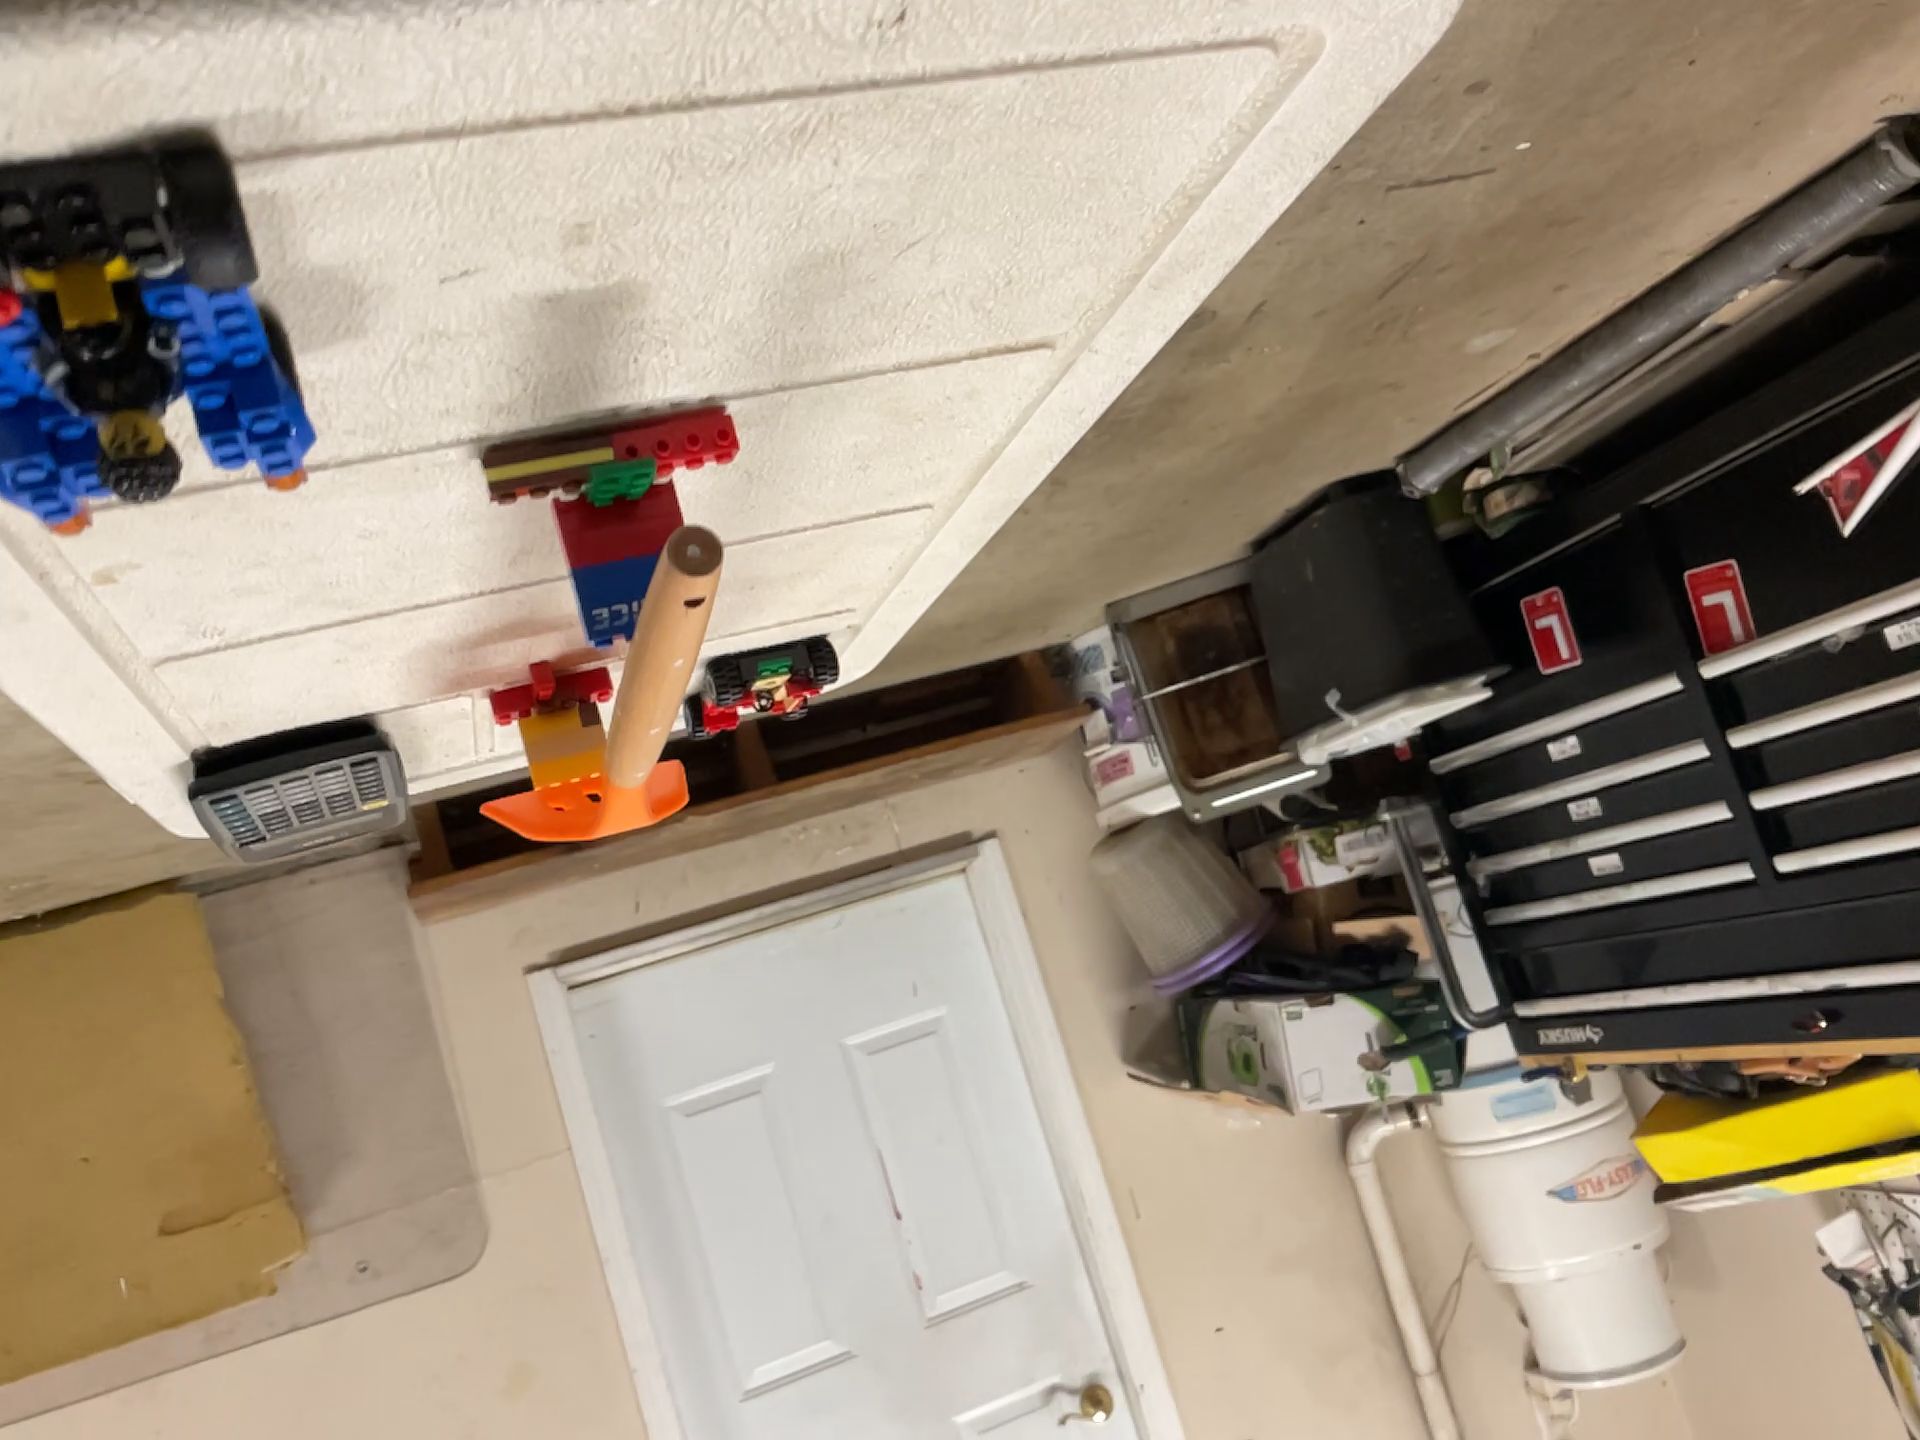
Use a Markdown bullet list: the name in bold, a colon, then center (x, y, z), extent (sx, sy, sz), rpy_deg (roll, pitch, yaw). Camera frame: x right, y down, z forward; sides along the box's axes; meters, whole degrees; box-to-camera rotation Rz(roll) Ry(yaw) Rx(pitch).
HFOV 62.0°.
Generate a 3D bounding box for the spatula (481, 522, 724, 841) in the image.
- **spatula**: center (-0.104, -0.001, 0.494), extent (0.081, 0.041, 0.322), rpy_deg (-13, 168, -20)
